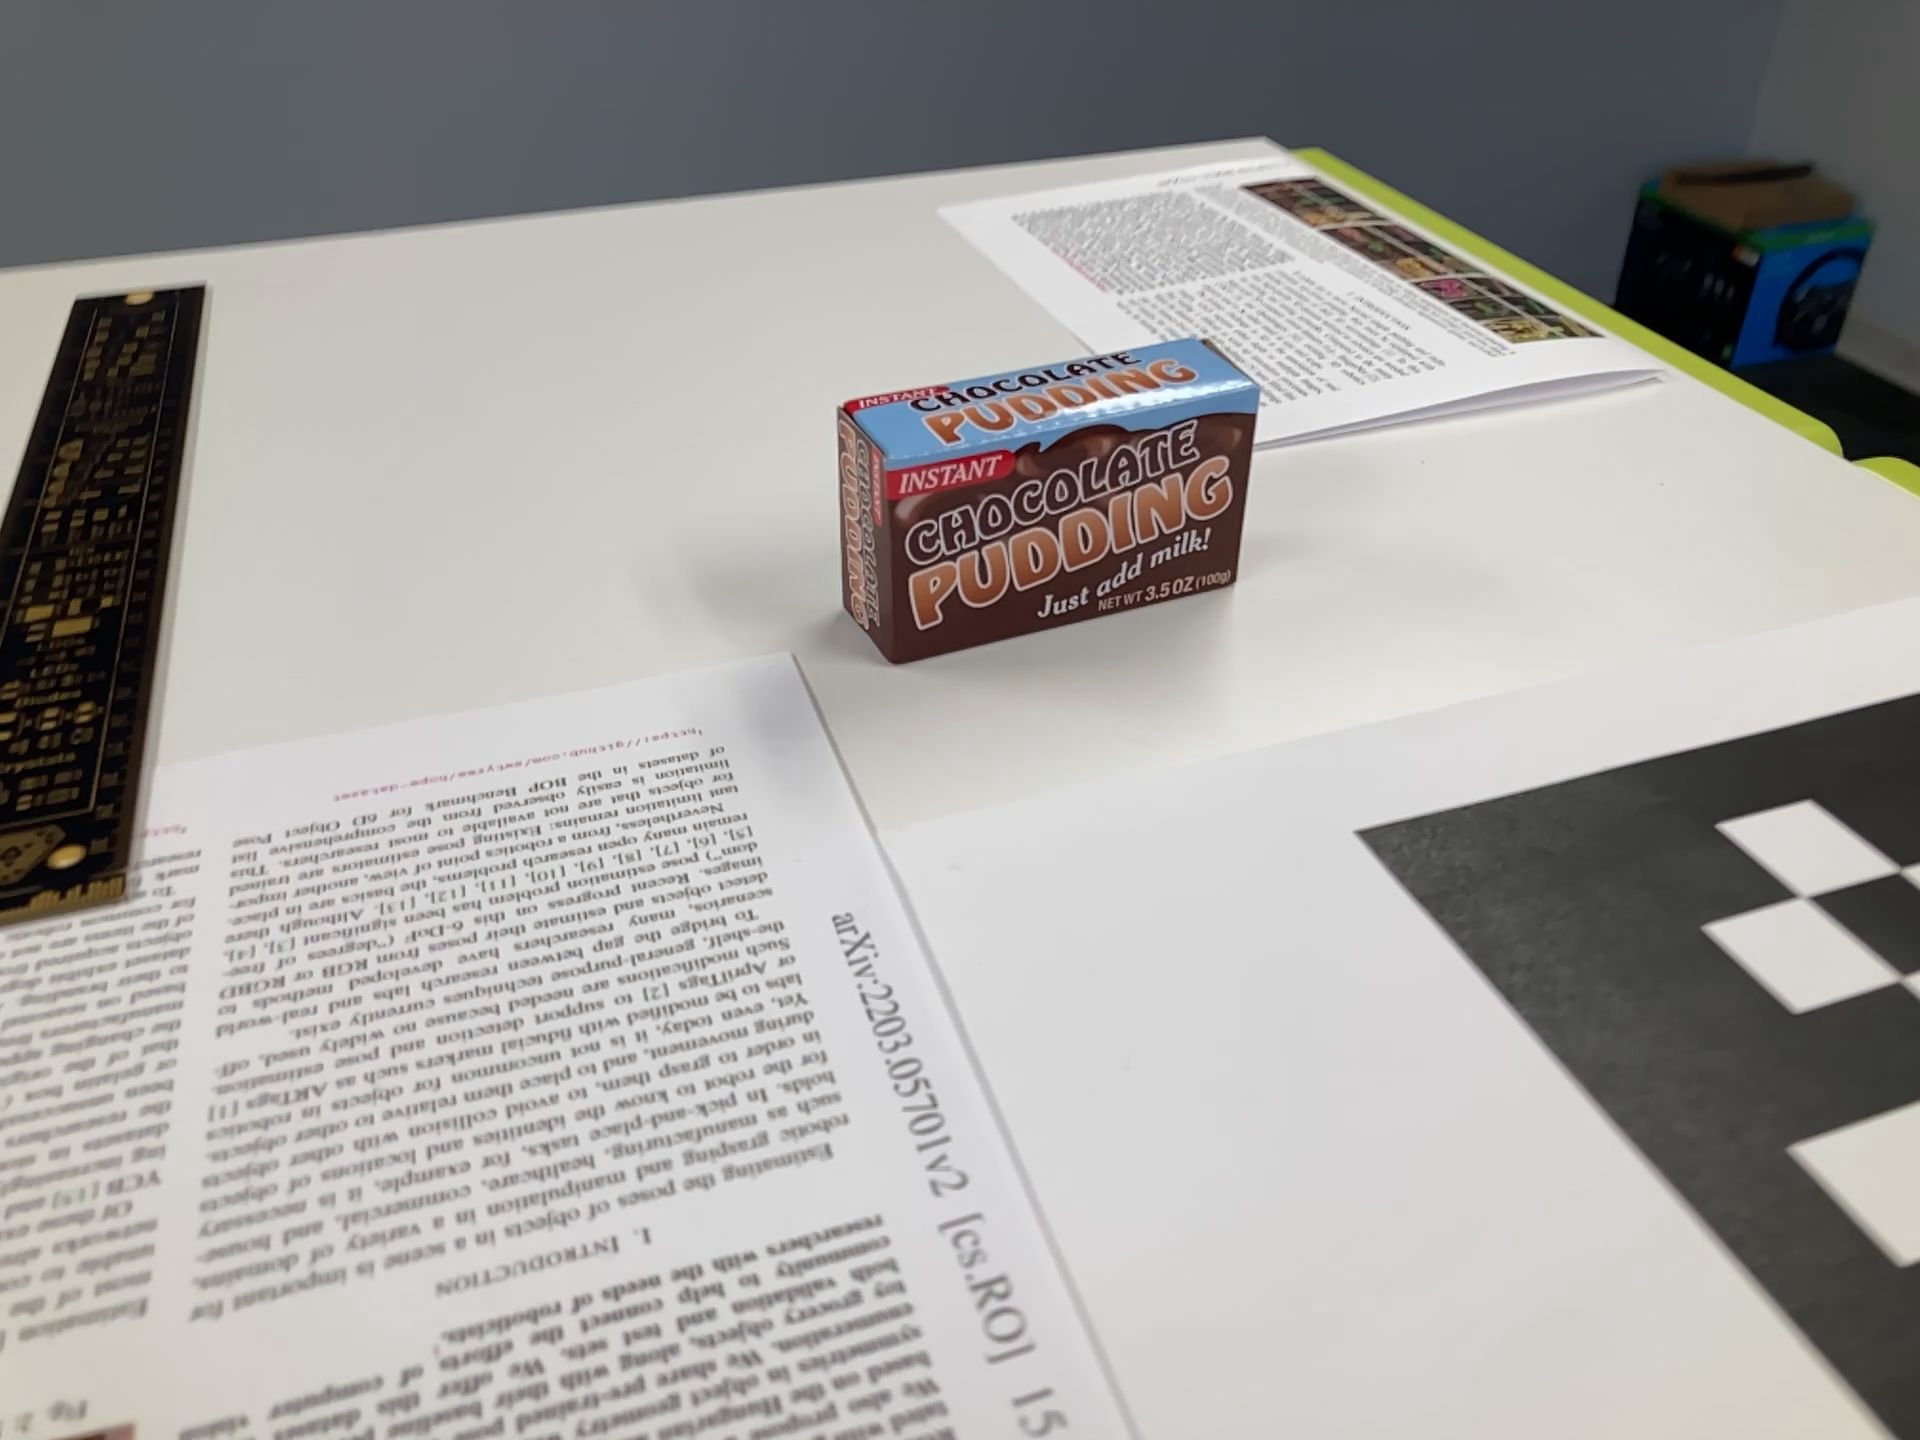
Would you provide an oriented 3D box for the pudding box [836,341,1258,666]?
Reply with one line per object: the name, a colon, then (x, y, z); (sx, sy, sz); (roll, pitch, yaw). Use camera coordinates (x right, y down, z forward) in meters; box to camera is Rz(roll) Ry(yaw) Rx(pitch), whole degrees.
pudding box: (0.018, -0.047, 0.331); (0.083, 0.049, 0.030); (-14, 38, -19)
